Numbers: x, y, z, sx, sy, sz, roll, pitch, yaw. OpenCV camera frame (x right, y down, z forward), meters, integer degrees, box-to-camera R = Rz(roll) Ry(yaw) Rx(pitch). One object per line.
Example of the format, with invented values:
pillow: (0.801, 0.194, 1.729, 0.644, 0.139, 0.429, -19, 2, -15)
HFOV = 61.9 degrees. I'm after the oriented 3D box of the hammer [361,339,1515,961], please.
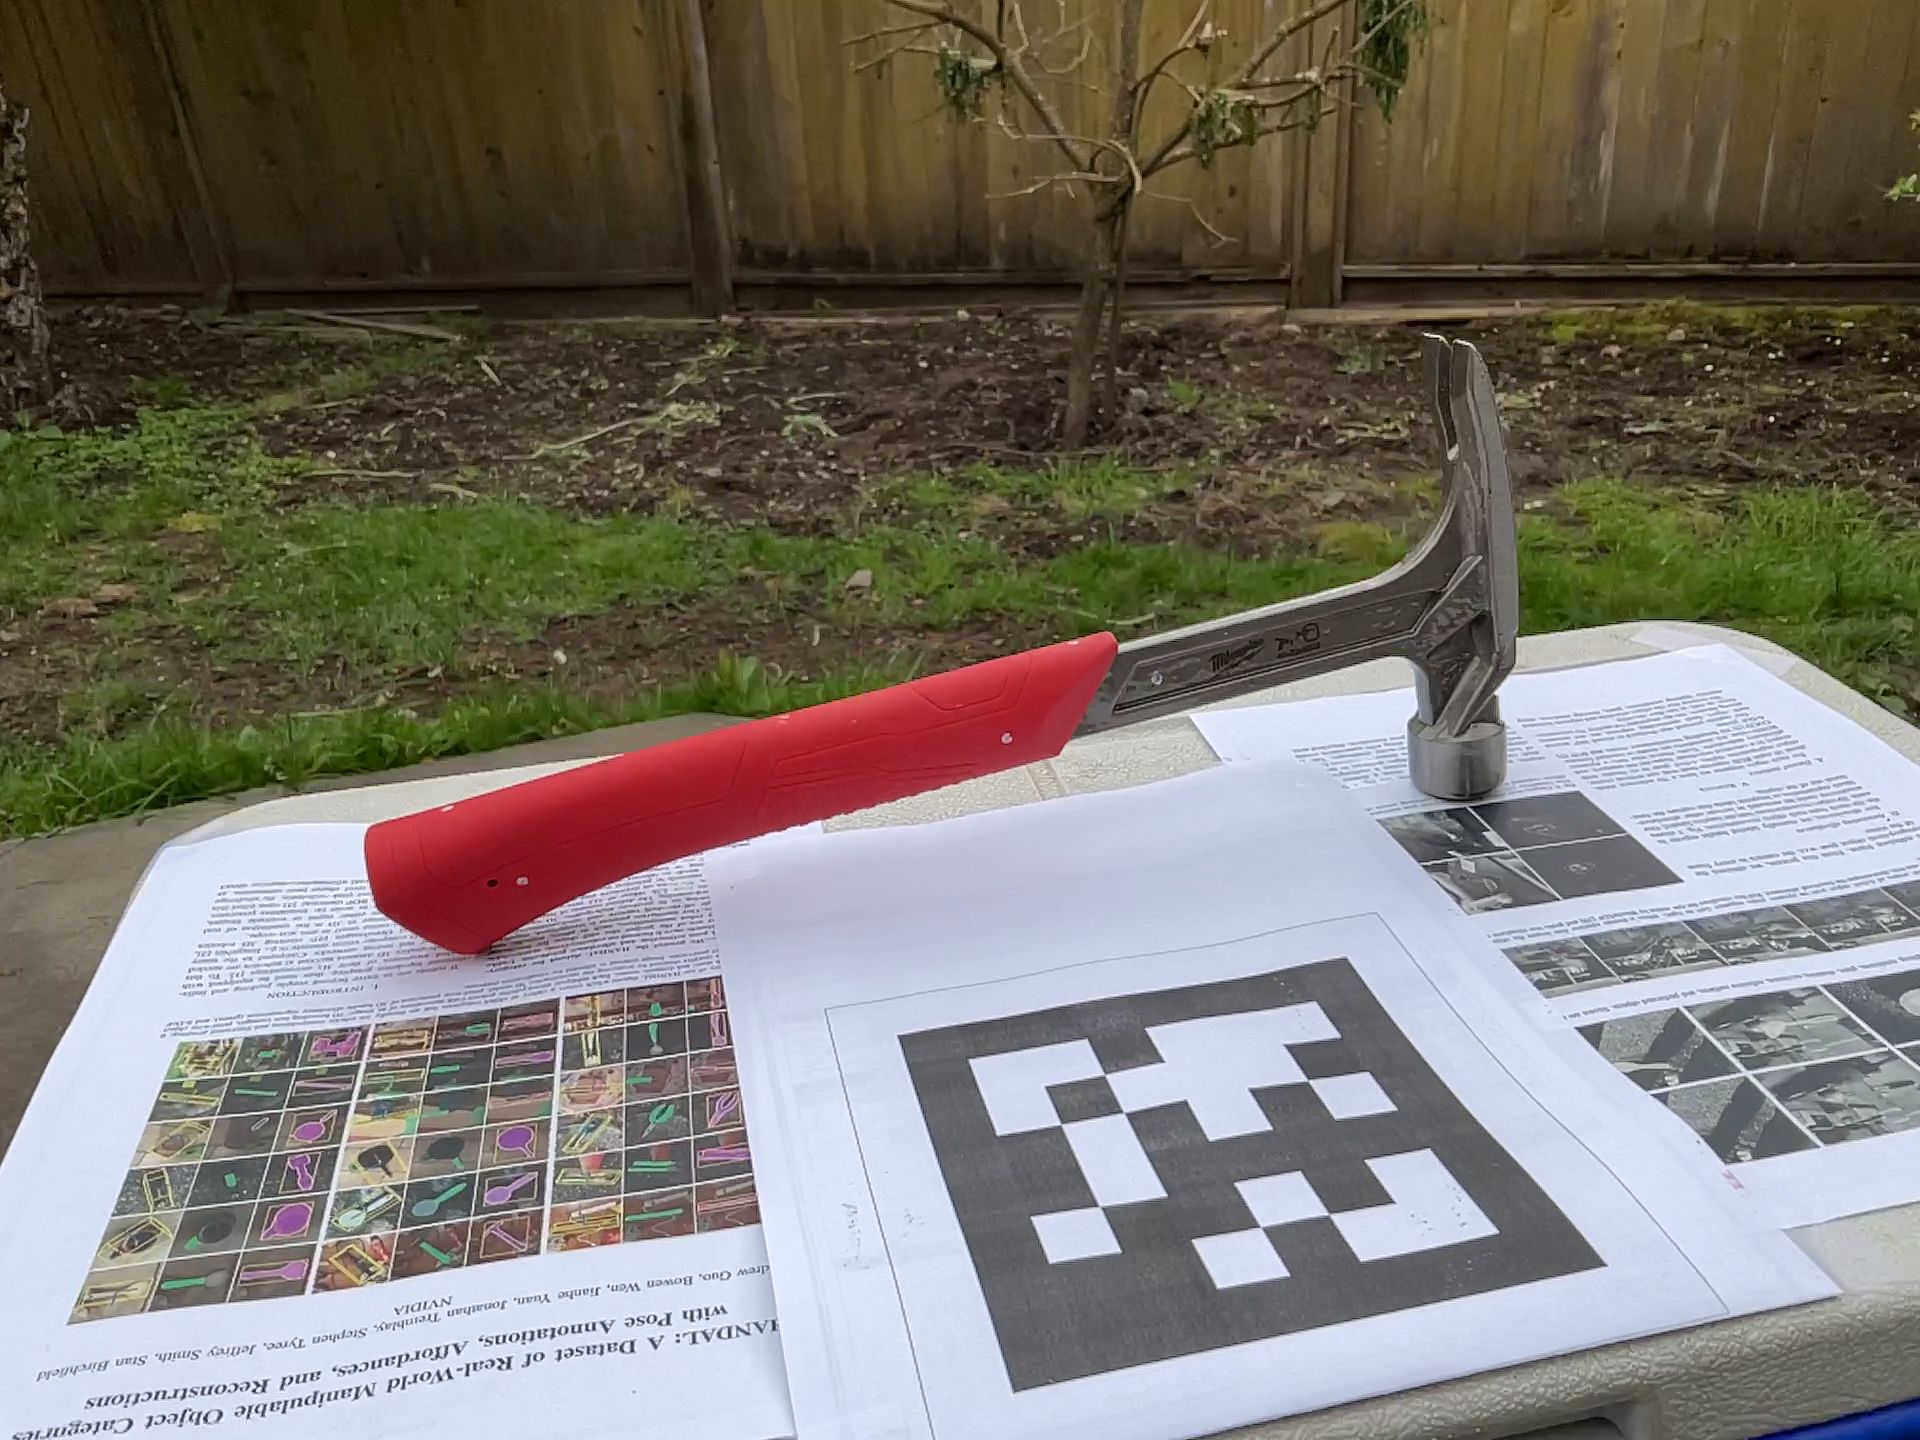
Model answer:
hammer: (0.000, -0.006, 0.489, 0.359, 0.149, 0.037, -14, 22, -9)
